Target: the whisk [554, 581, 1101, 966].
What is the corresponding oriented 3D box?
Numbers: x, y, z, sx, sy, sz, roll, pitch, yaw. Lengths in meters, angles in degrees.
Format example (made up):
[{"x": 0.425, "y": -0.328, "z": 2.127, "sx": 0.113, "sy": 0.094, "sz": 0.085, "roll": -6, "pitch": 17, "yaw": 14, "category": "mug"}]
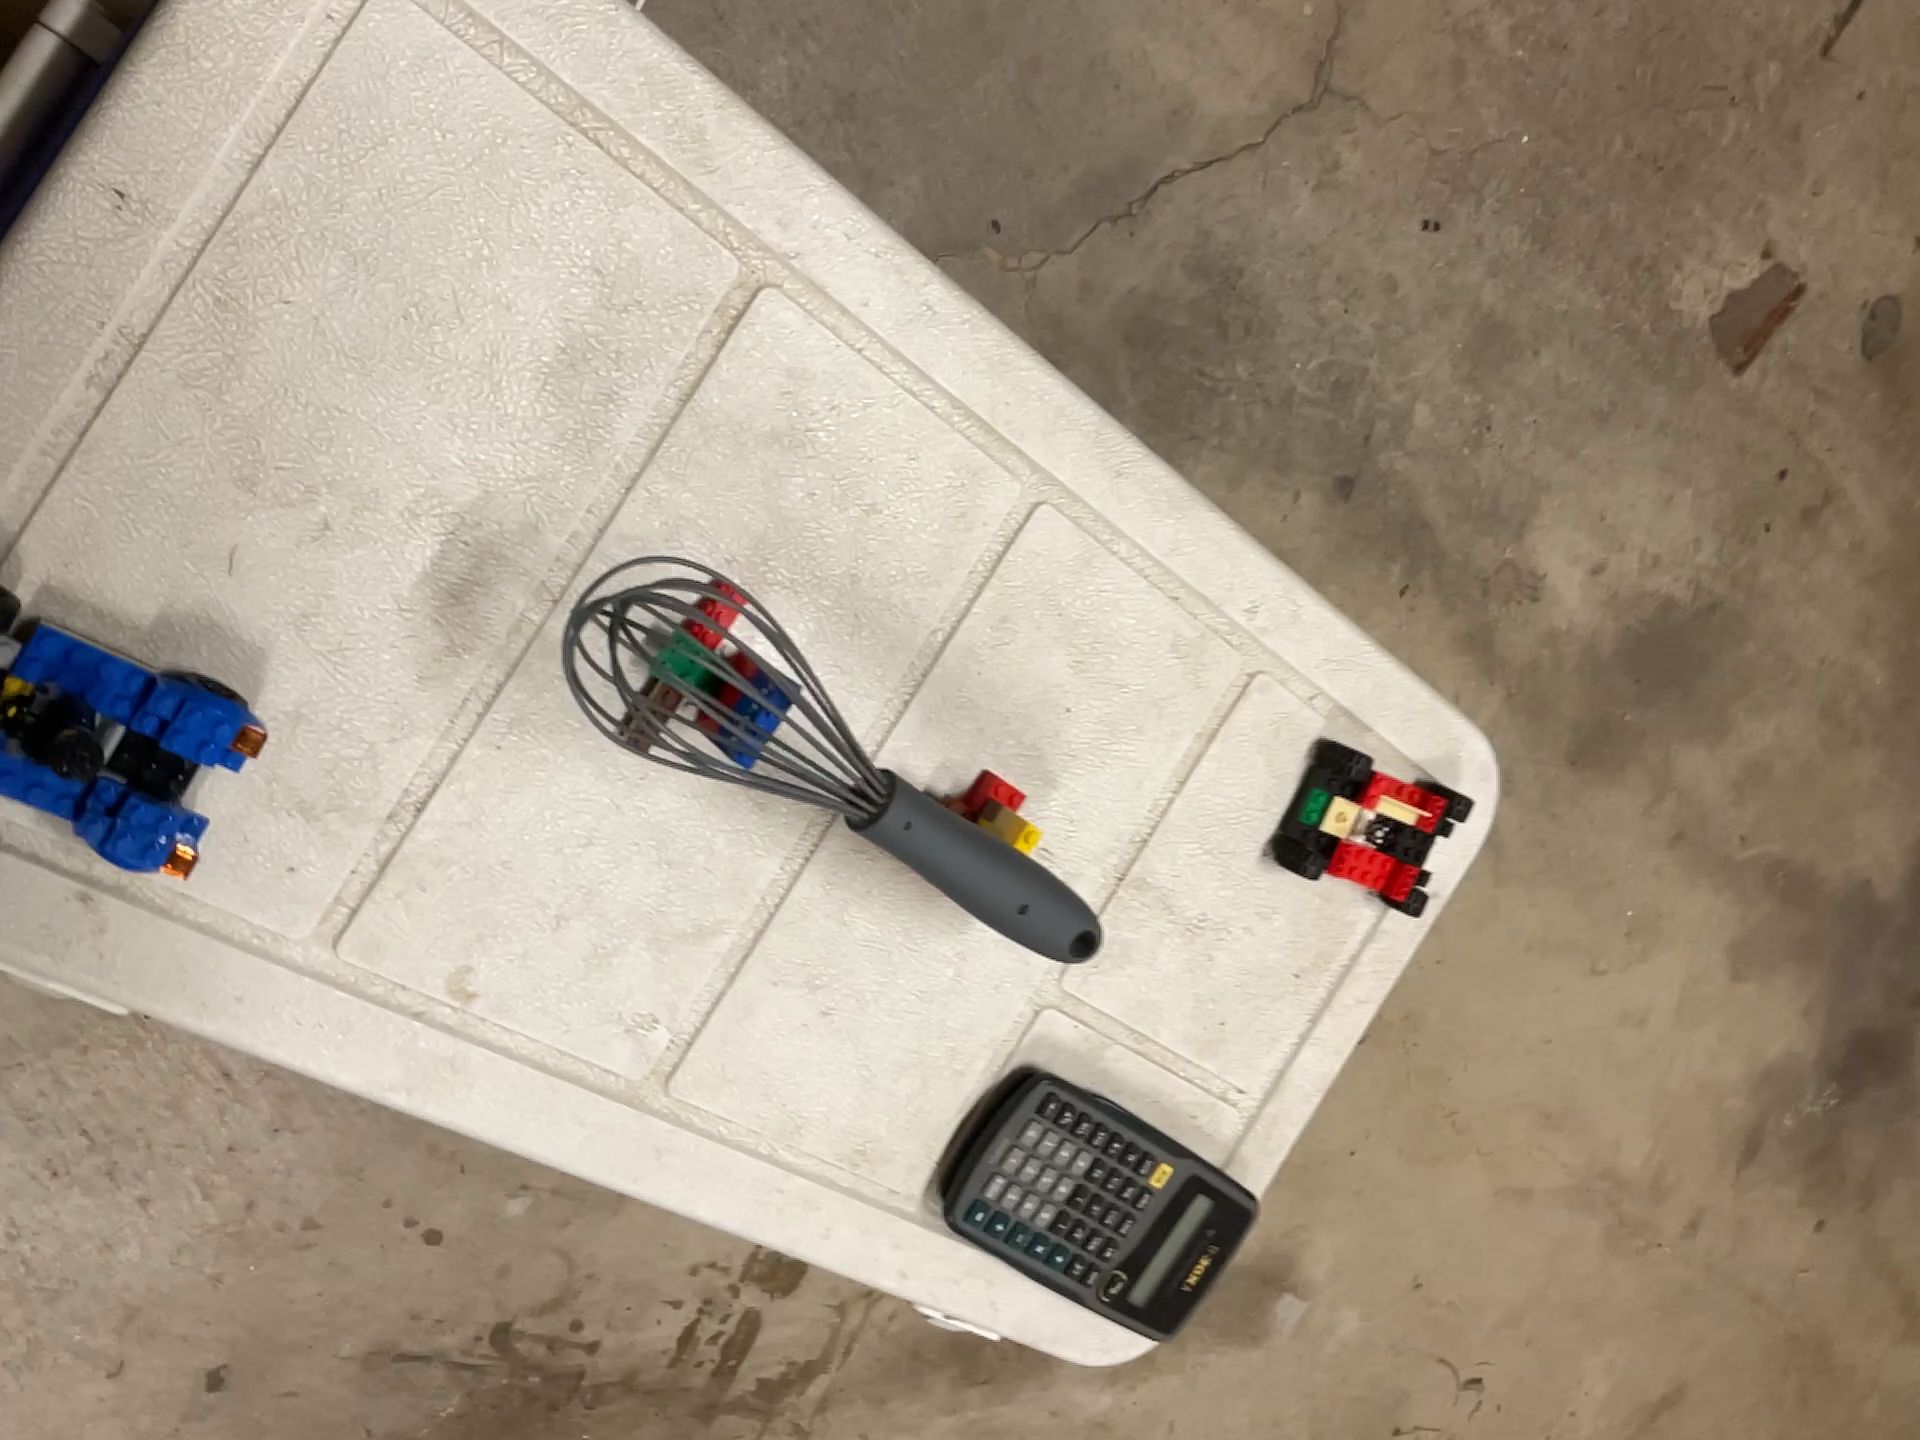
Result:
[{"x": -0.030, "y": 0.027, "z": 0.510, "sx": 0.239, "sy": 0.055, "sz": 0.055, "roll": 38, "pitch": 89, "yaw": -37, "category": "whisk"}]
